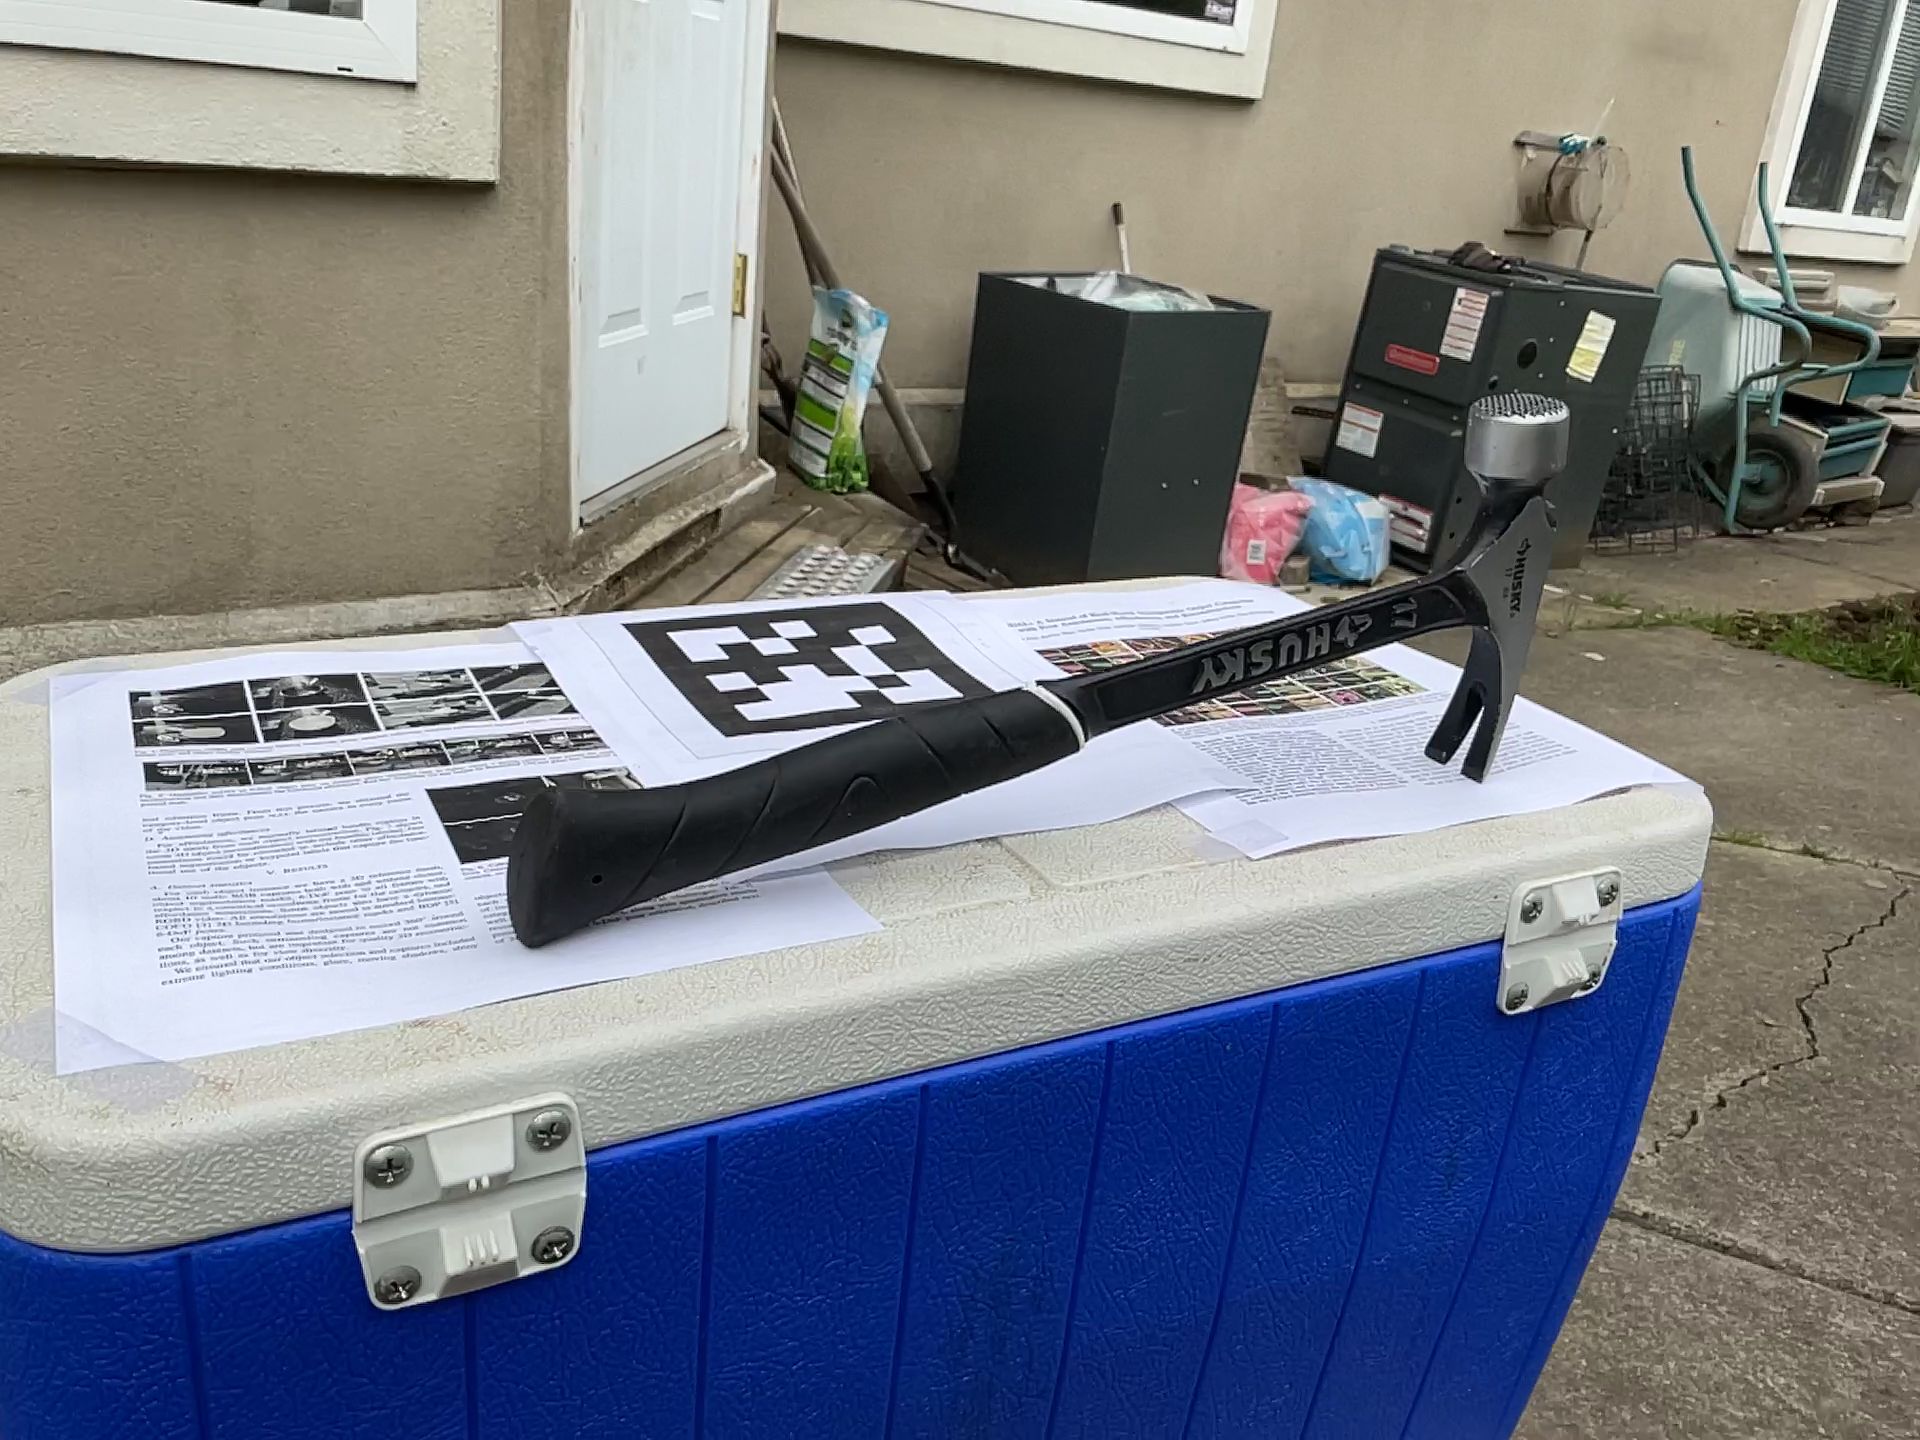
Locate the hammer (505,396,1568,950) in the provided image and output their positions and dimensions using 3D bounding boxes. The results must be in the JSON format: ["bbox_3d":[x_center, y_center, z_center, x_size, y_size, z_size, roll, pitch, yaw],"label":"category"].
[{"bbox_3d":[0.048,-0.001,0.542,0.409,0.149,0.036,-17,29,-25],"label":"hammer"}]
